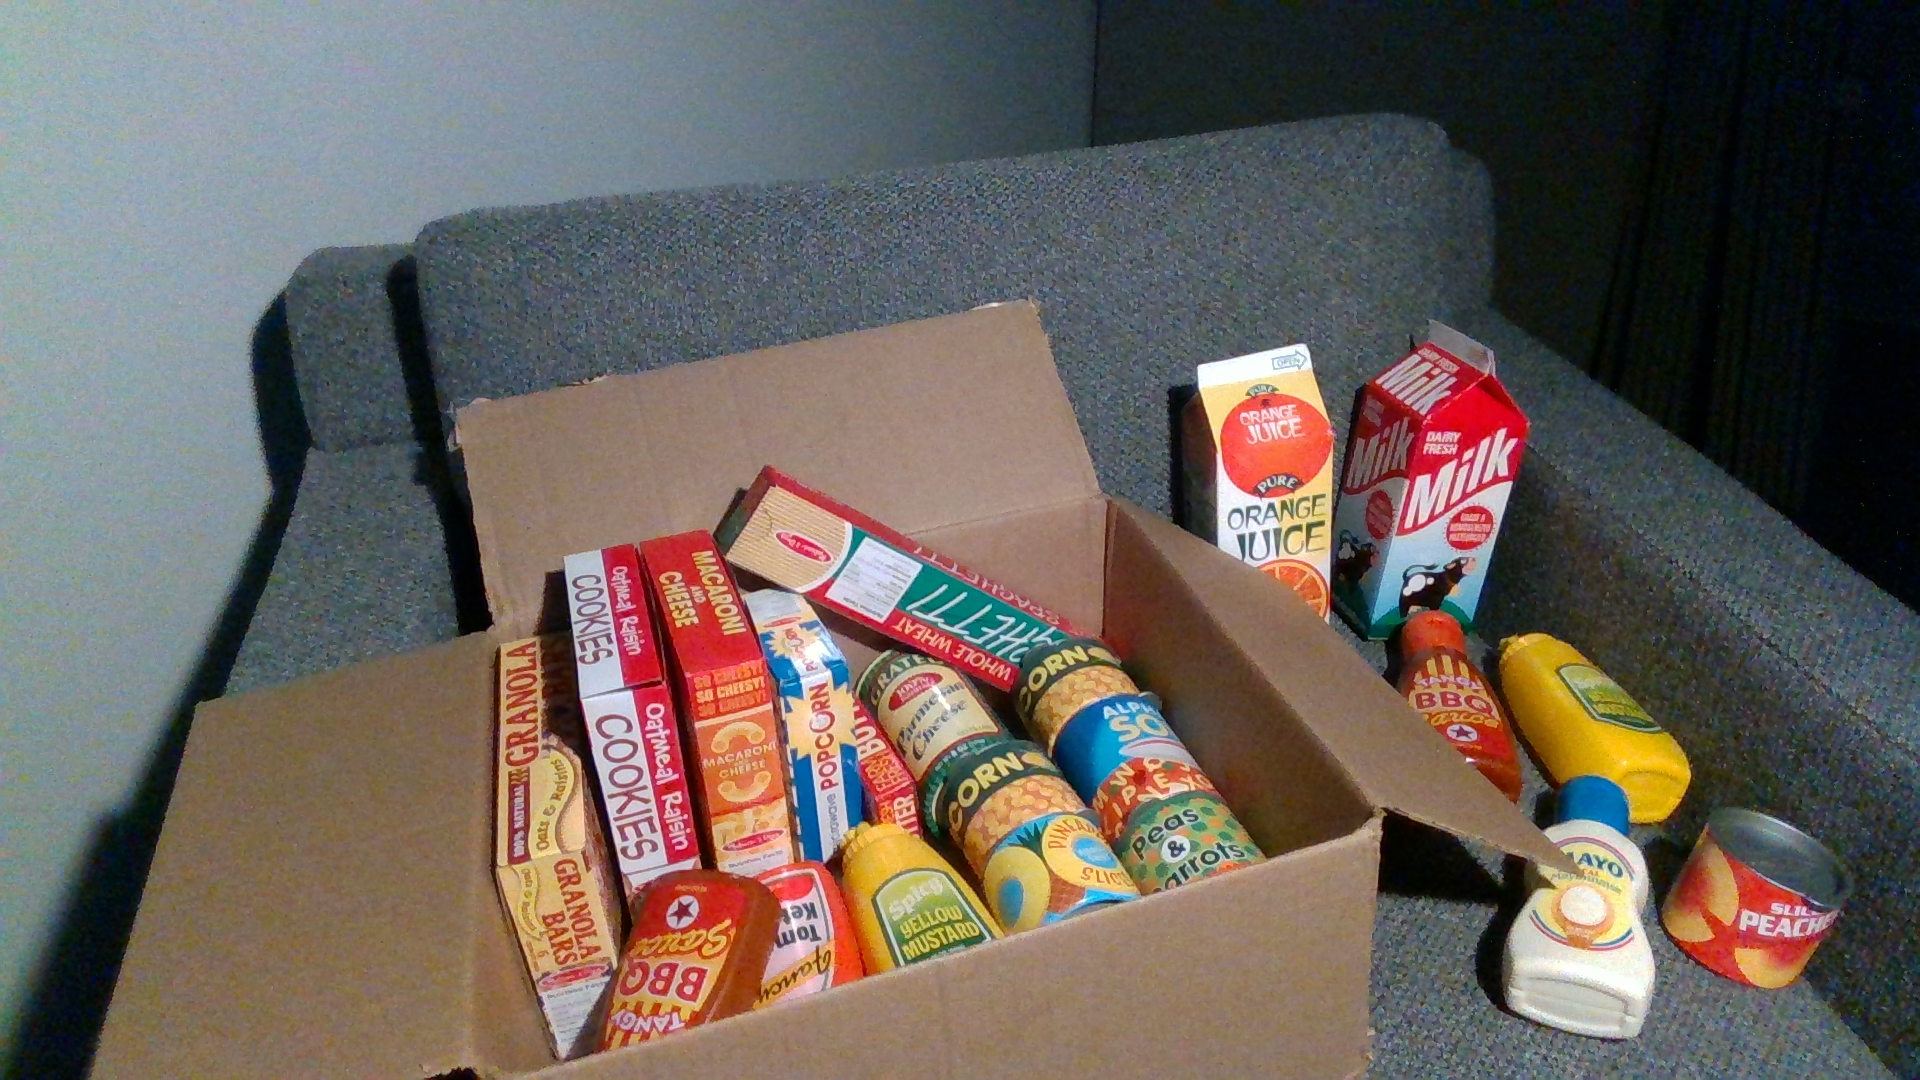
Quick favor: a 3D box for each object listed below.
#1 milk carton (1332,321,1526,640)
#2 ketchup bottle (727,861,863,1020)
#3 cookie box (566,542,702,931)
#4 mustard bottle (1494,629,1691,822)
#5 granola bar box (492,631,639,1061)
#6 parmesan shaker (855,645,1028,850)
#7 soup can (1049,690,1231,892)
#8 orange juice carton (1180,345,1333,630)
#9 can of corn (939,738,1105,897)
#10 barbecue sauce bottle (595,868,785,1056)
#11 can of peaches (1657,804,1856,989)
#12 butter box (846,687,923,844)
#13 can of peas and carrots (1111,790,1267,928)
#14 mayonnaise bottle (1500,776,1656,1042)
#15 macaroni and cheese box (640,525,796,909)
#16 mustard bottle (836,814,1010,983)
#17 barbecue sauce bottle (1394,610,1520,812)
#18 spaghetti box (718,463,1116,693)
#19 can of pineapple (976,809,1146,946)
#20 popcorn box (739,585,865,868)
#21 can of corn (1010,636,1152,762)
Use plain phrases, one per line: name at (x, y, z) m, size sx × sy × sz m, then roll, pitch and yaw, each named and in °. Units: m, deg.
milk carton at (0.292, -0.036, 0.872) m, size 0.073 × 0.189 × 0.072 m, roll 0°, pitch 25°, yaw -13°
ketchup bottle at (-0.070, 0.211, 0.616) m, size 0.065 × 0.043 × 0.149 m, roll -19°, pitch 34°, yaw -7°
cookie box at (-0.157, 0.103, 0.684) m, size 0.040 × 0.166 × 0.123 m, roll -11°, pitch 32°, yaw -13°
mustard bottle at (0.351, 0.095, 0.806) m, size 0.065 × 0.048 × 0.161 m, roll 9°, pitch 28°, yaw -17°
granola bar box at (-0.190, 0.141, 0.667) m, size 0.039 × 0.123 × 0.166 m, roll -12°, pitch 32°, yaw -10°
parmesan shaker at (-0.006, 0.108, 0.754) m, size 0.071 × 0.071 × 0.103 m, roll -14°, pitch 32°, yaw -20°
soup can at (0.093, 0.126, 0.714) m, size 0.071 × 0.071 × 0.084 m, roll -11°, pitch 31°, yaw -16°
orange juice carton at (0.181, -0.024, 0.858) m, size 0.072 × 0.191 × 0.073 m, roll -9°, pitch 26°, yaw -7°
can of corn at (0.029, 0.141, 0.692) m, size 0.071 × 0.070 × 0.058 m, roll -13°, pitch 33°, yaw -20°
barbecue sauce bottle at (-0.125, 0.215, 0.587) m, size 0.065 × 0.043 × 0.149 m, roll -3°, pitch 47°, yaw 24°
can of peaches at (0.377, 0.171, 0.659) m, size 0.071 × 0.057 × 0.071 m, roll 12°, pitch 26°, yaw -6°
butter box at (-0.052, 0.125, 0.752) m, size 0.024 × 0.052 × 0.104 m, roll -18°, pitch 34°, yaw -19°
can of peas and carrots at (0.112, 0.161, 0.658) m, size 0.071 × 0.070 × 0.059 m, roll -11°, pitch 32°, yaw -16°
mayonnaise bottle at (0.301, 0.172, 0.670) m, size 0.065 × 0.041 × 0.149 m, roll 7°, pitch 31°, yaw 24°
macaroni and cheese box at (-0.119, 0.094, 0.696) m, size 0.040 × 0.165 × 0.124 m, roll -13°, pitch 33°, yaw -16°
mustard bottle at (-0.026, 0.180, 0.664) m, size 0.065 × 0.048 × 0.161 m, roll -12°, pitch 33°, yaw -23°
barbecue sauce bottle at (0.277, 0.095, 0.796) m, size 0.065 × 0.043 × 0.149 m, roll 5°, pitch 30°, yaw 9°
spaghetti box at (-0.015, 0.035, 0.765) m, size 0.250 × 0.050 × 0.029 m, roll 28°, pitch 16°, yaw -30°
can of pineapple at (0.049, 0.170, 0.649) m, size 0.071 × 0.070 × 0.058 m, roll -13°, pitch 33°, yaw -19°
popcorn box at (-0.085, 0.098, 0.735) m, size 0.038 × 0.126 × 0.085 m, roll -15°, pitch 34°, yaw -19°
can of corn at (0.067, 0.095, 0.771) m, size 0.071 × 0.070 × 0.058 m, roll -10°, pitch 31°, yaw -15°
